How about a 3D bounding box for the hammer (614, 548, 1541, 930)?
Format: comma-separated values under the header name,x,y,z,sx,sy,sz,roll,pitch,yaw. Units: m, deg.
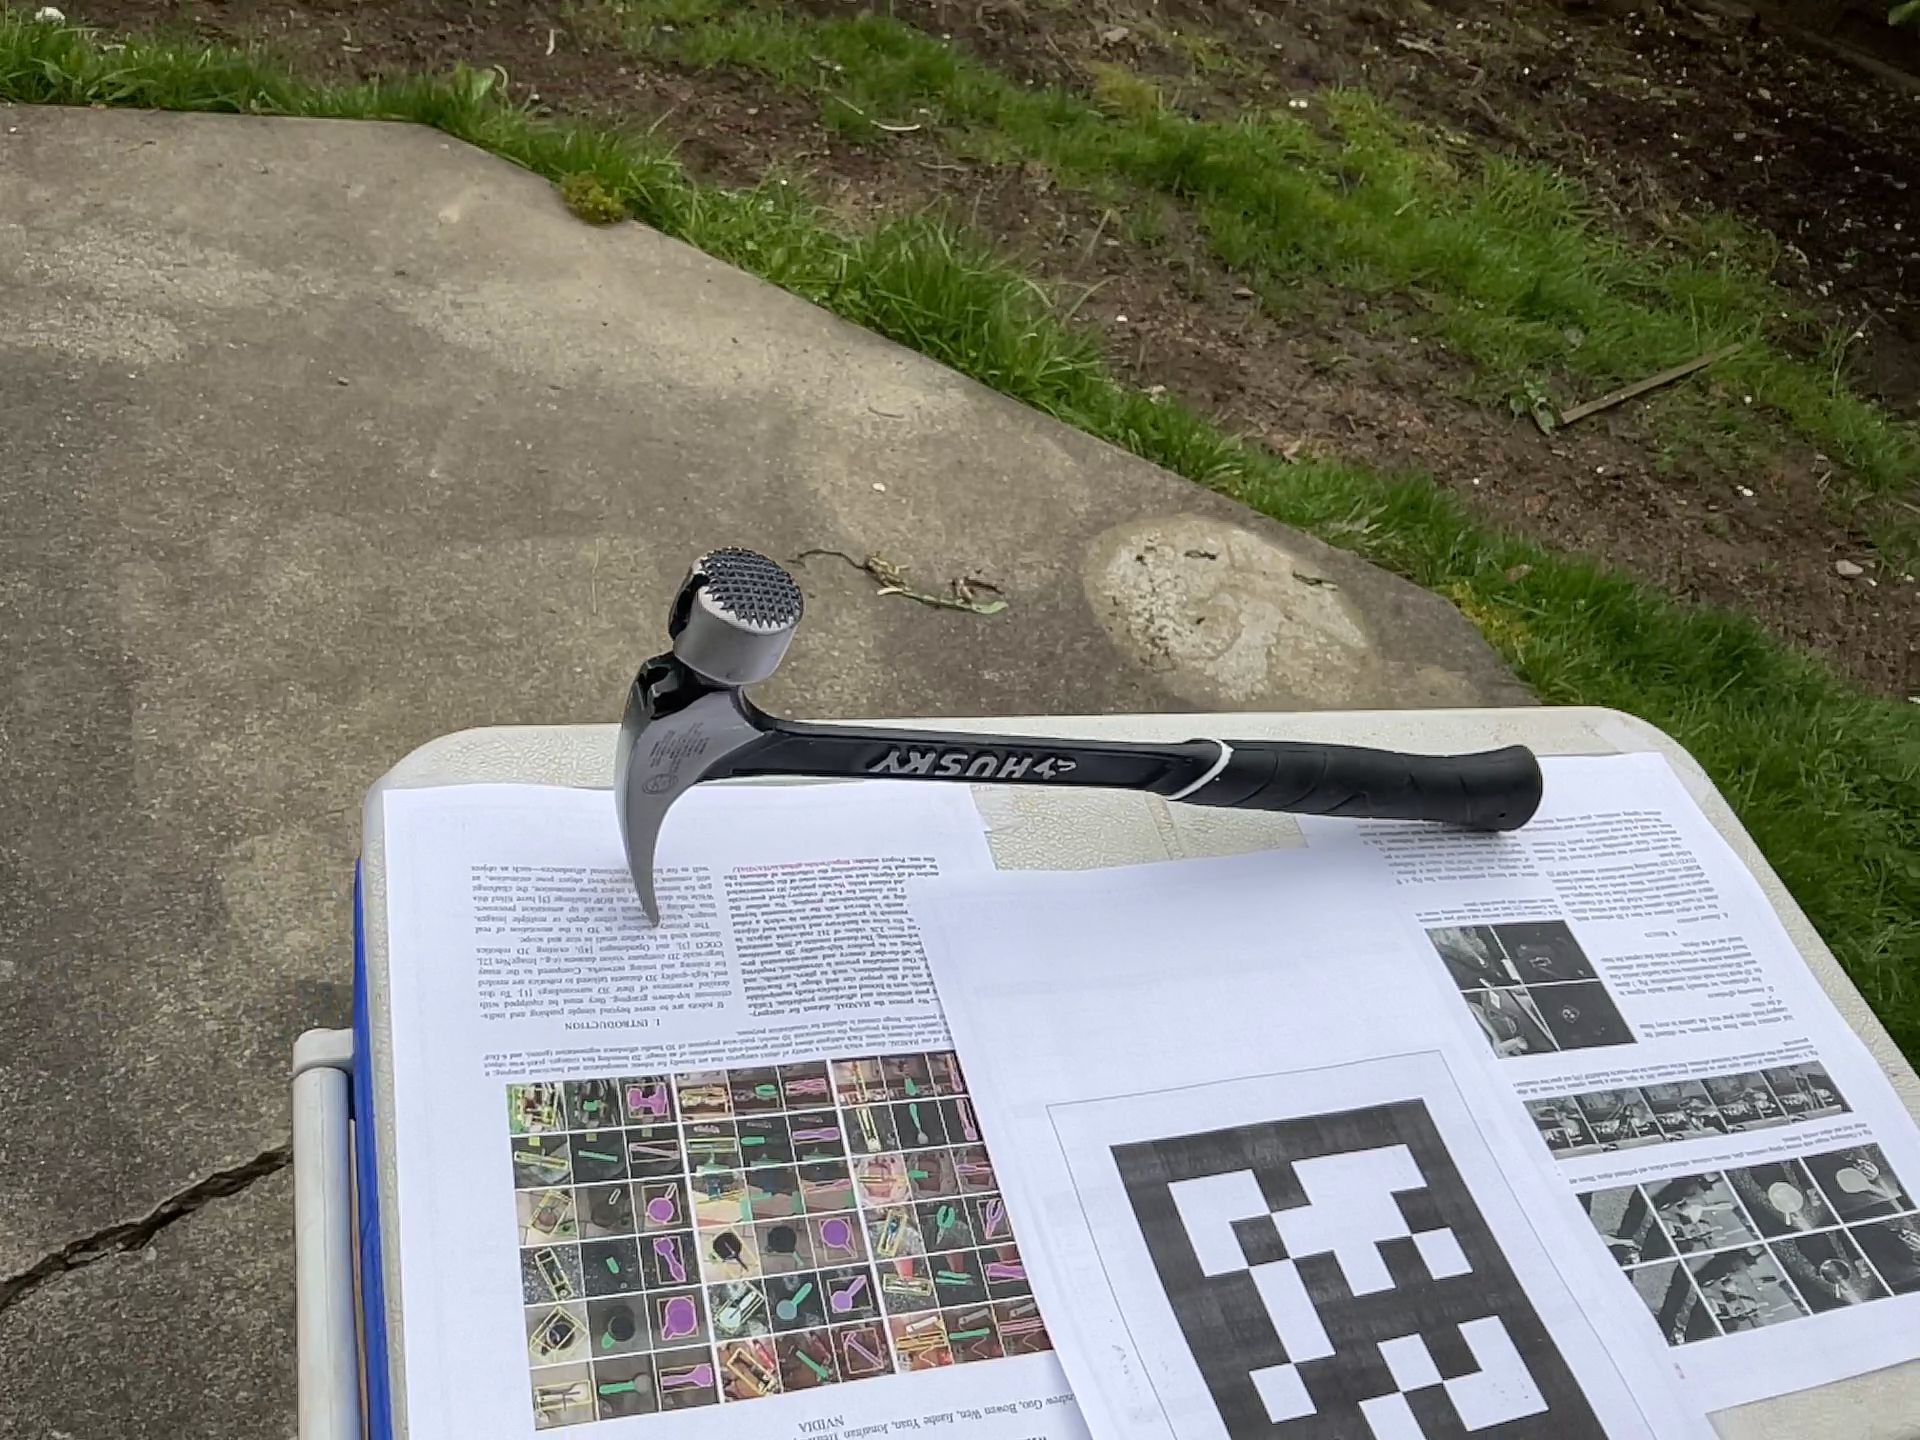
name,x,y,z,sx,sy,sz,roll,pitch,yaw
hammer,0.068,0.023,0.596,0.408,0.149,0.036,5,46,-31
